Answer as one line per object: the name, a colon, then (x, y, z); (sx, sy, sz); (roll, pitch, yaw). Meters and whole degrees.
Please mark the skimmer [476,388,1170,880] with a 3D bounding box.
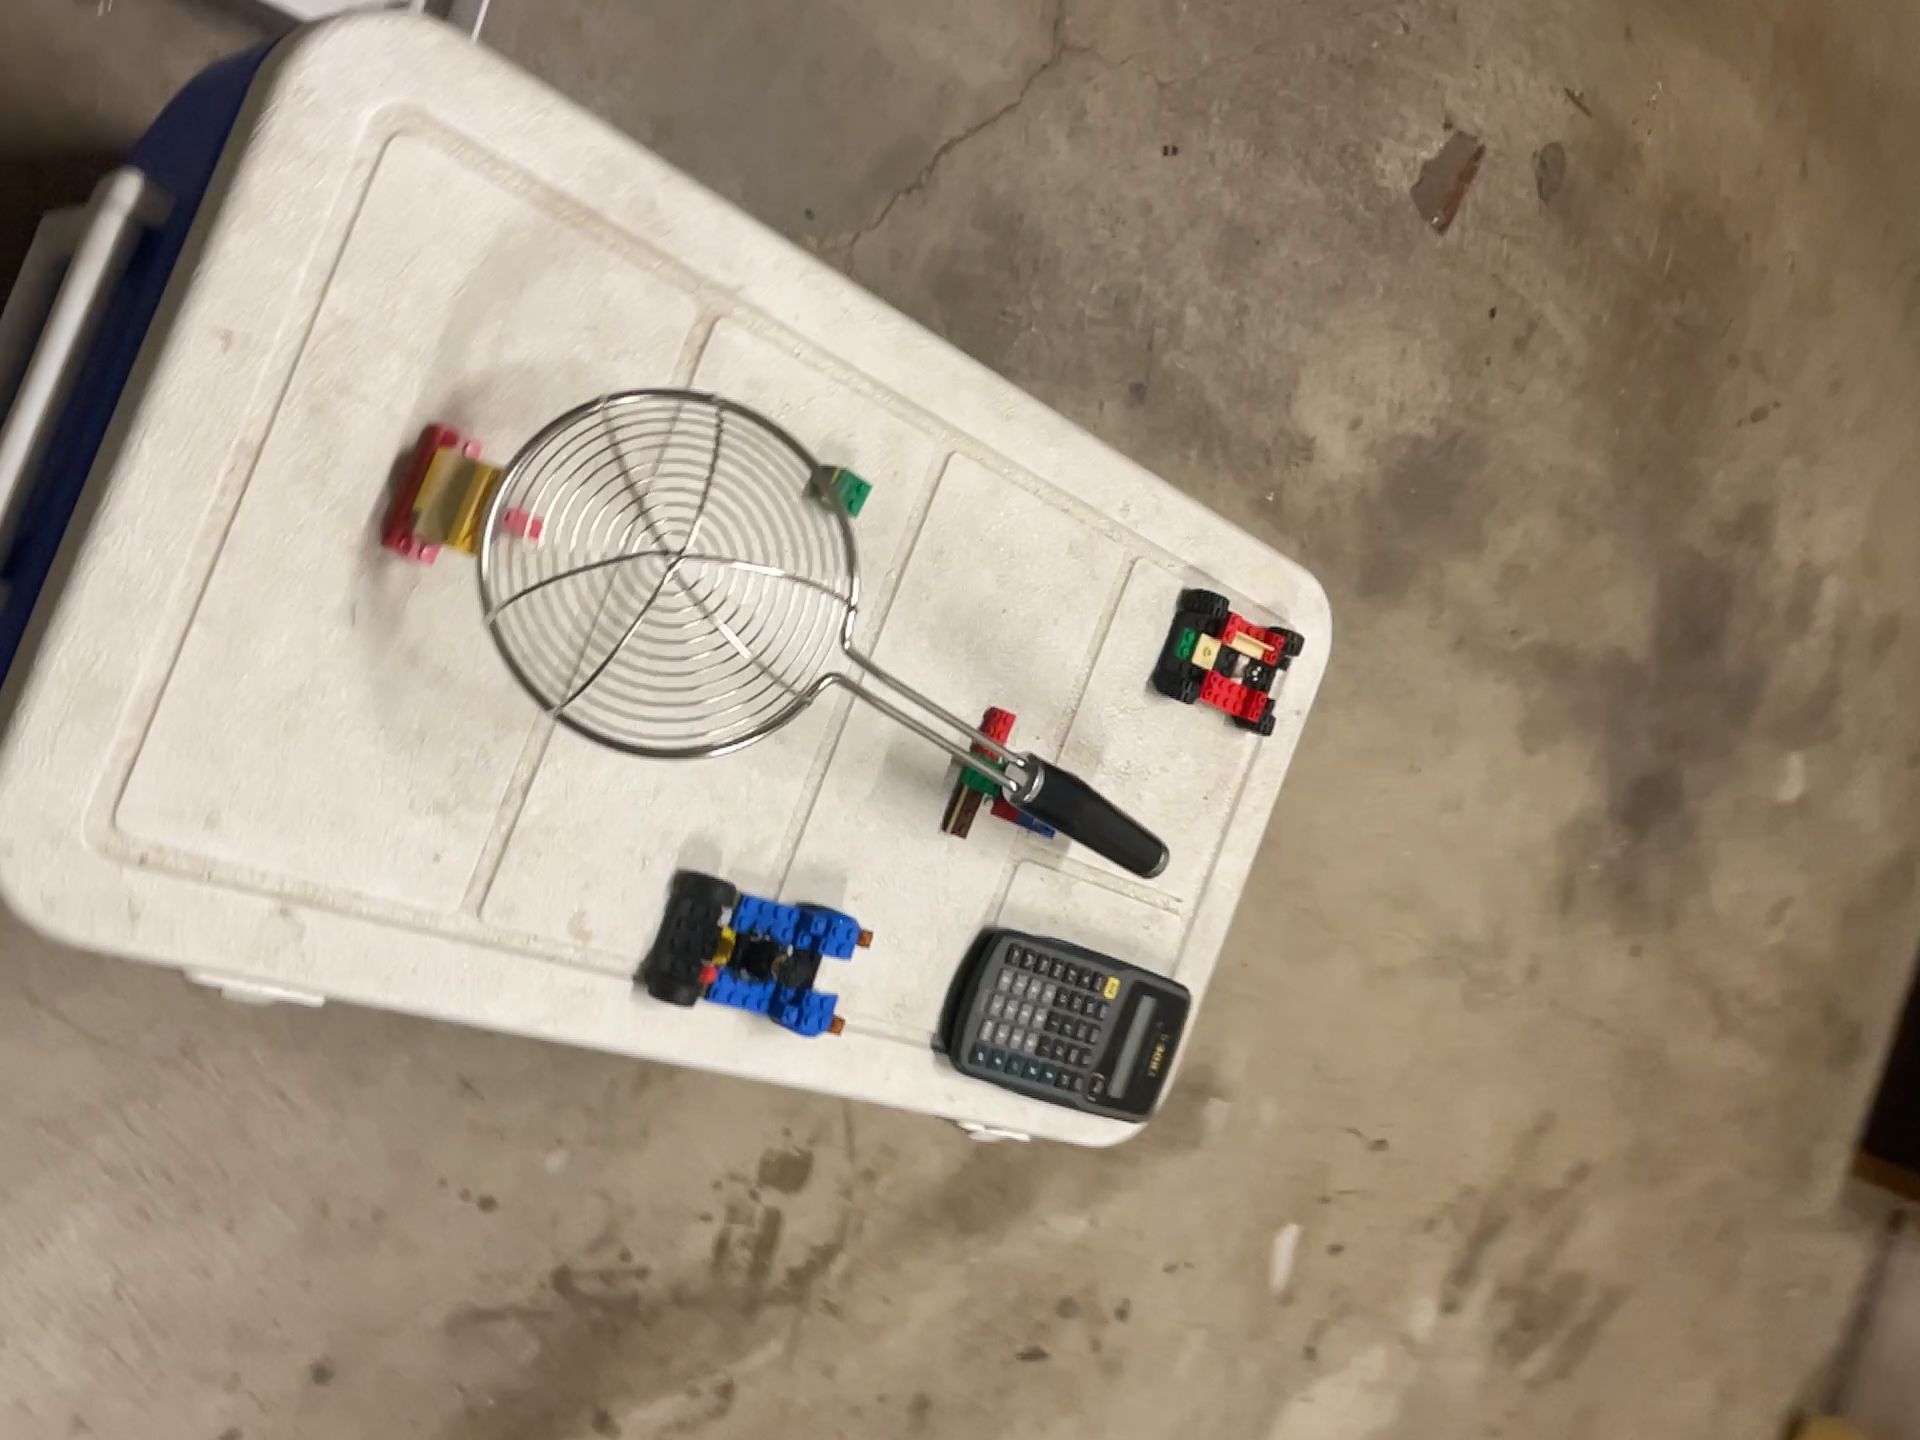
skimmer: (-0.027, -0.005, 0.645); (0.363, 0.090, 0.127); (33, 80, -51)
